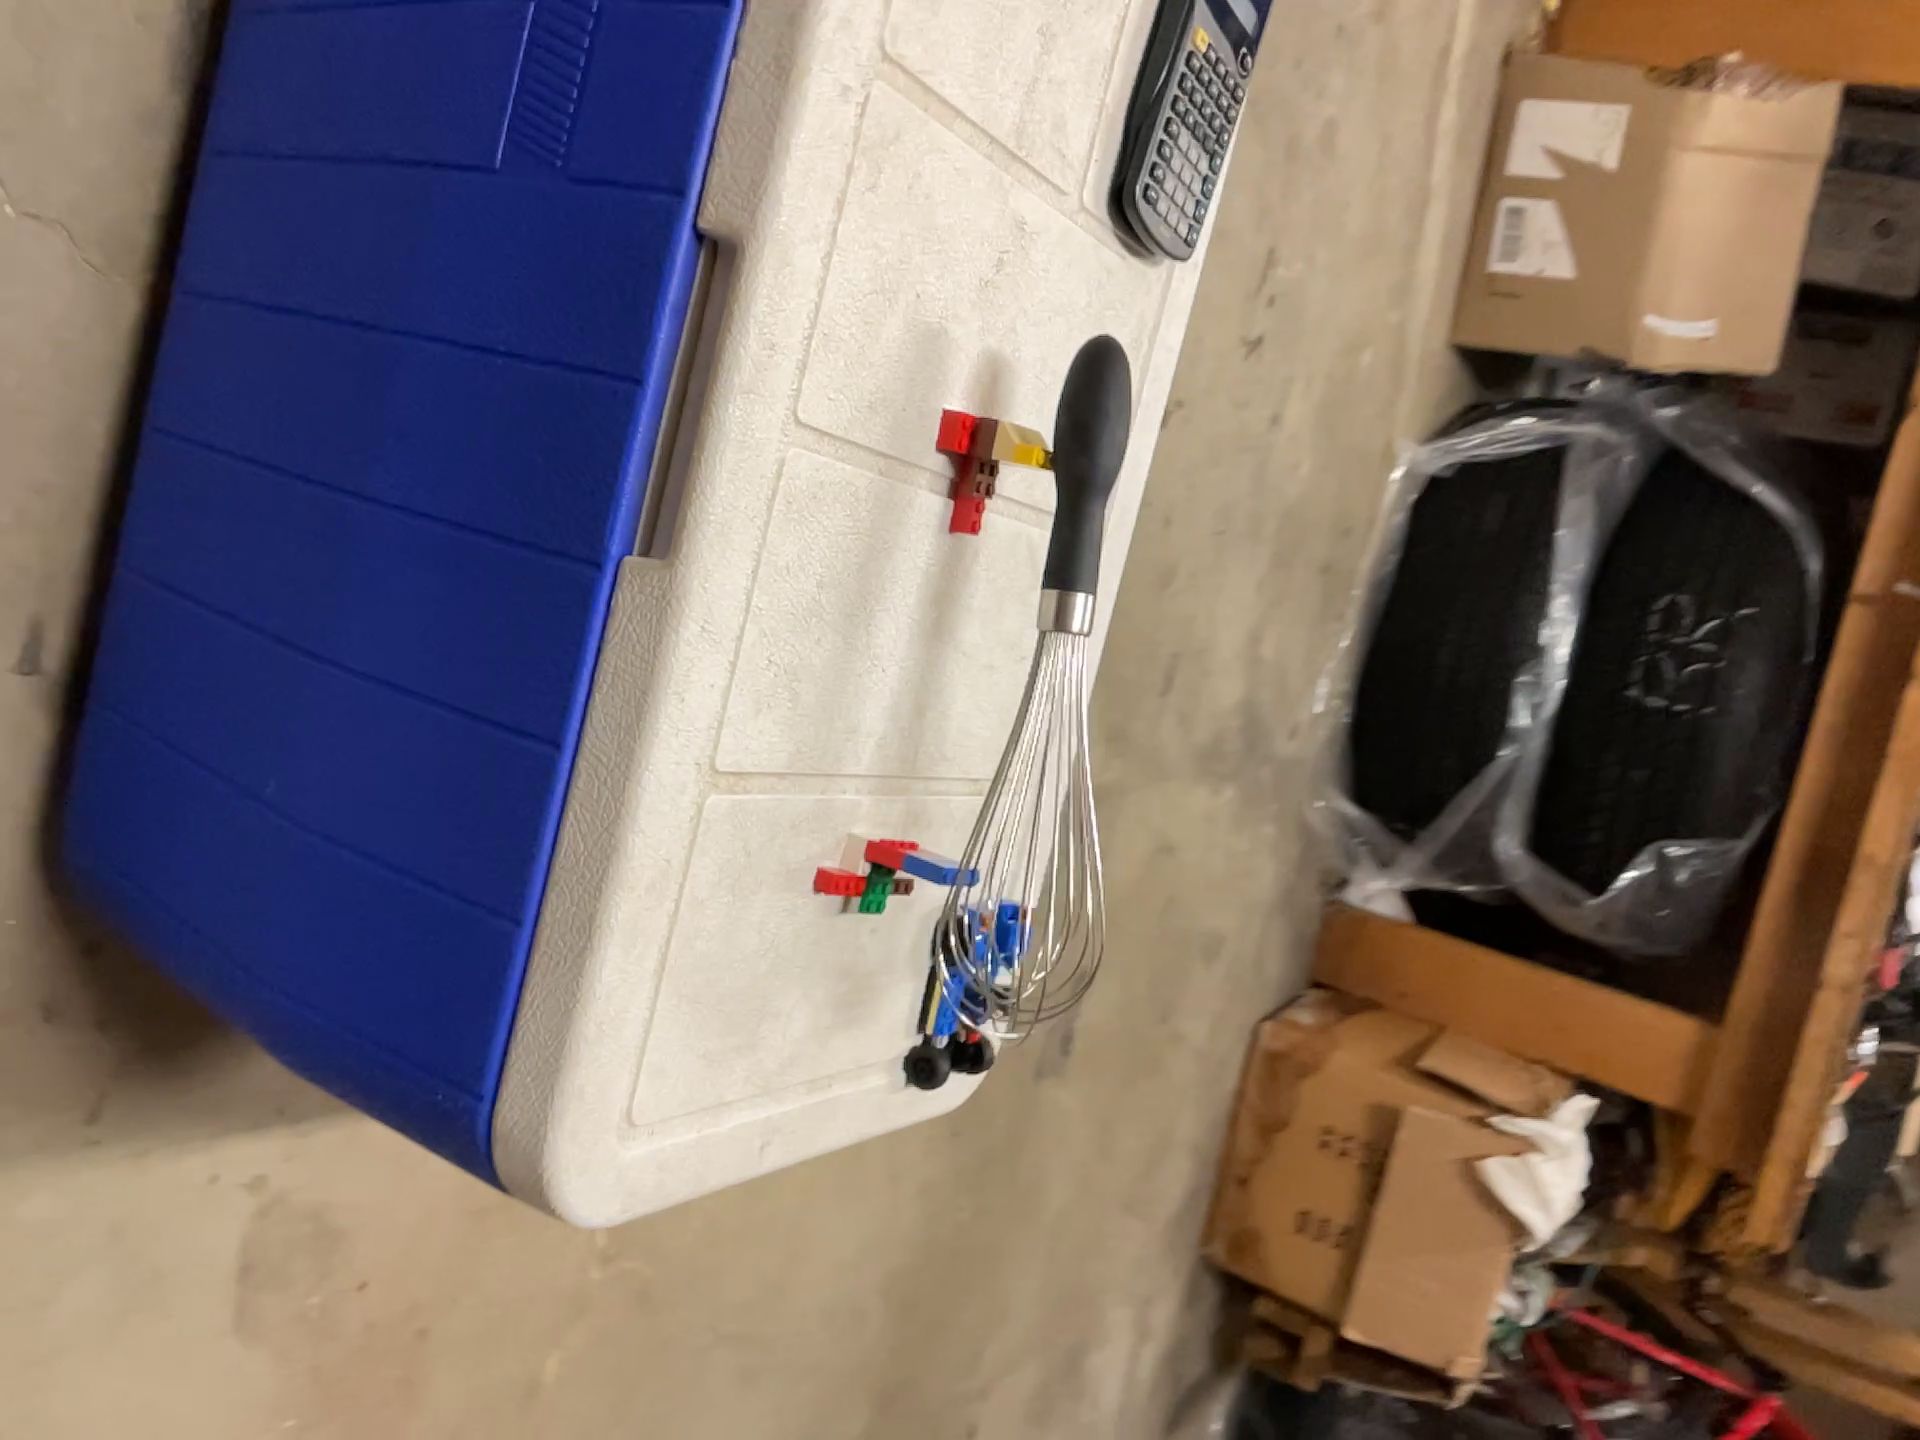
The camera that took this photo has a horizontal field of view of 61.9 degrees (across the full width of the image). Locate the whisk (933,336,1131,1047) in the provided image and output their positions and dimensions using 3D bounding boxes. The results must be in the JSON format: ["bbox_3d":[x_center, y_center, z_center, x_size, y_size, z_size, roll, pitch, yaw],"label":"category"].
[{"bbox_3d":[0.038,-0.011,0.637,0.070,0.070,0.284,4,94,-55],"label":"whisk"}]
